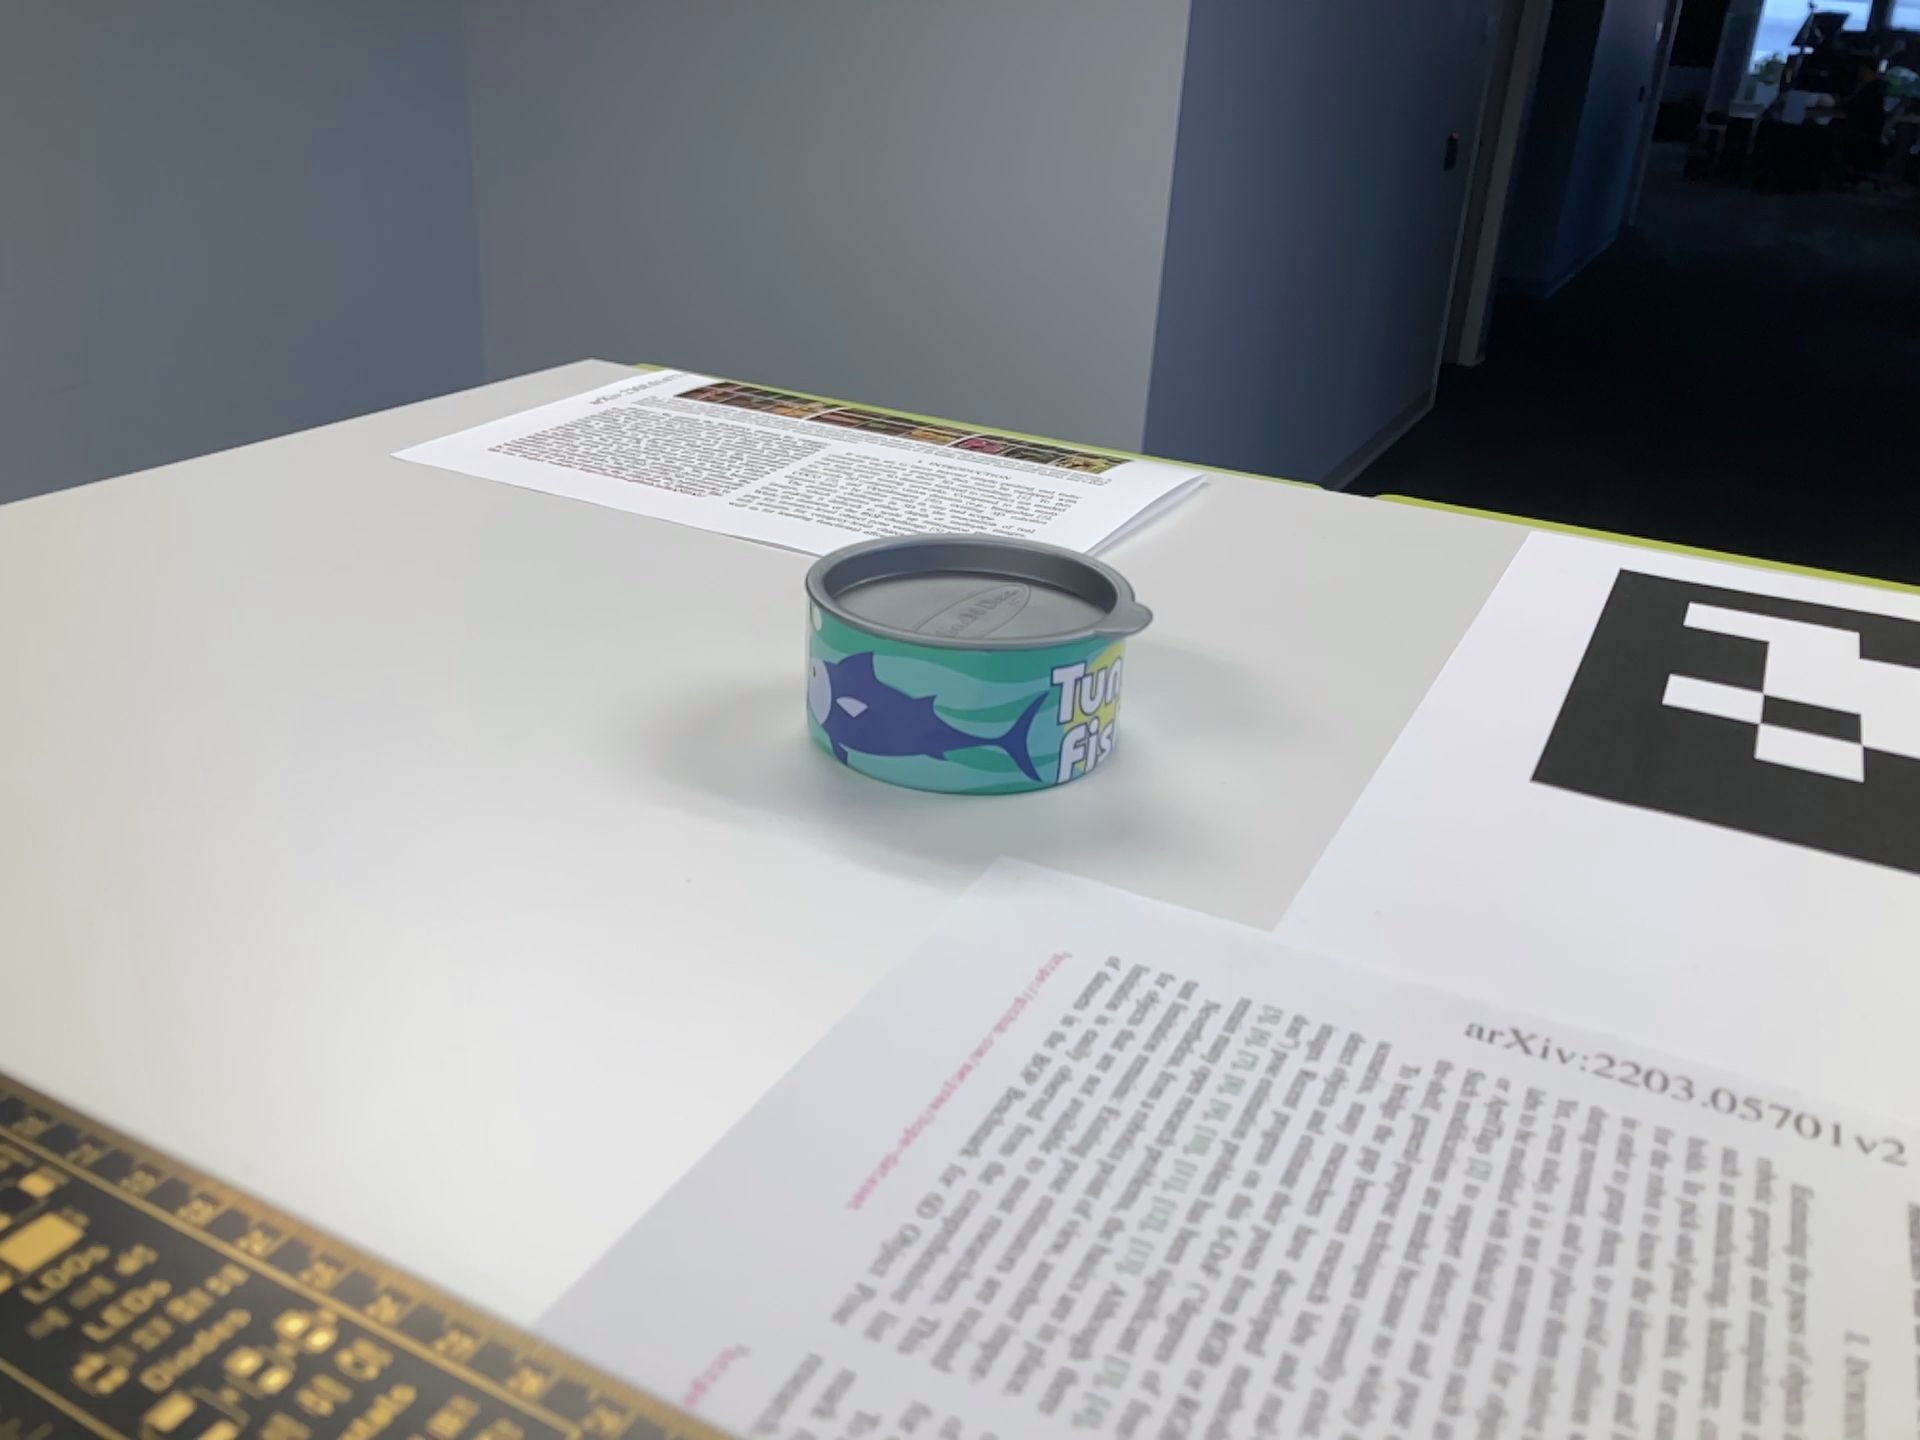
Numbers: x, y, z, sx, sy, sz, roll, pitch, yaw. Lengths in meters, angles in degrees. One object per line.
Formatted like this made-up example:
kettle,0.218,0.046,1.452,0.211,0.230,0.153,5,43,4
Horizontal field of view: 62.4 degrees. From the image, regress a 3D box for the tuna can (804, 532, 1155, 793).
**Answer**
tuna can,0.004,-0.013,0.321,0.071,0.033,0.071,3,24,-1
